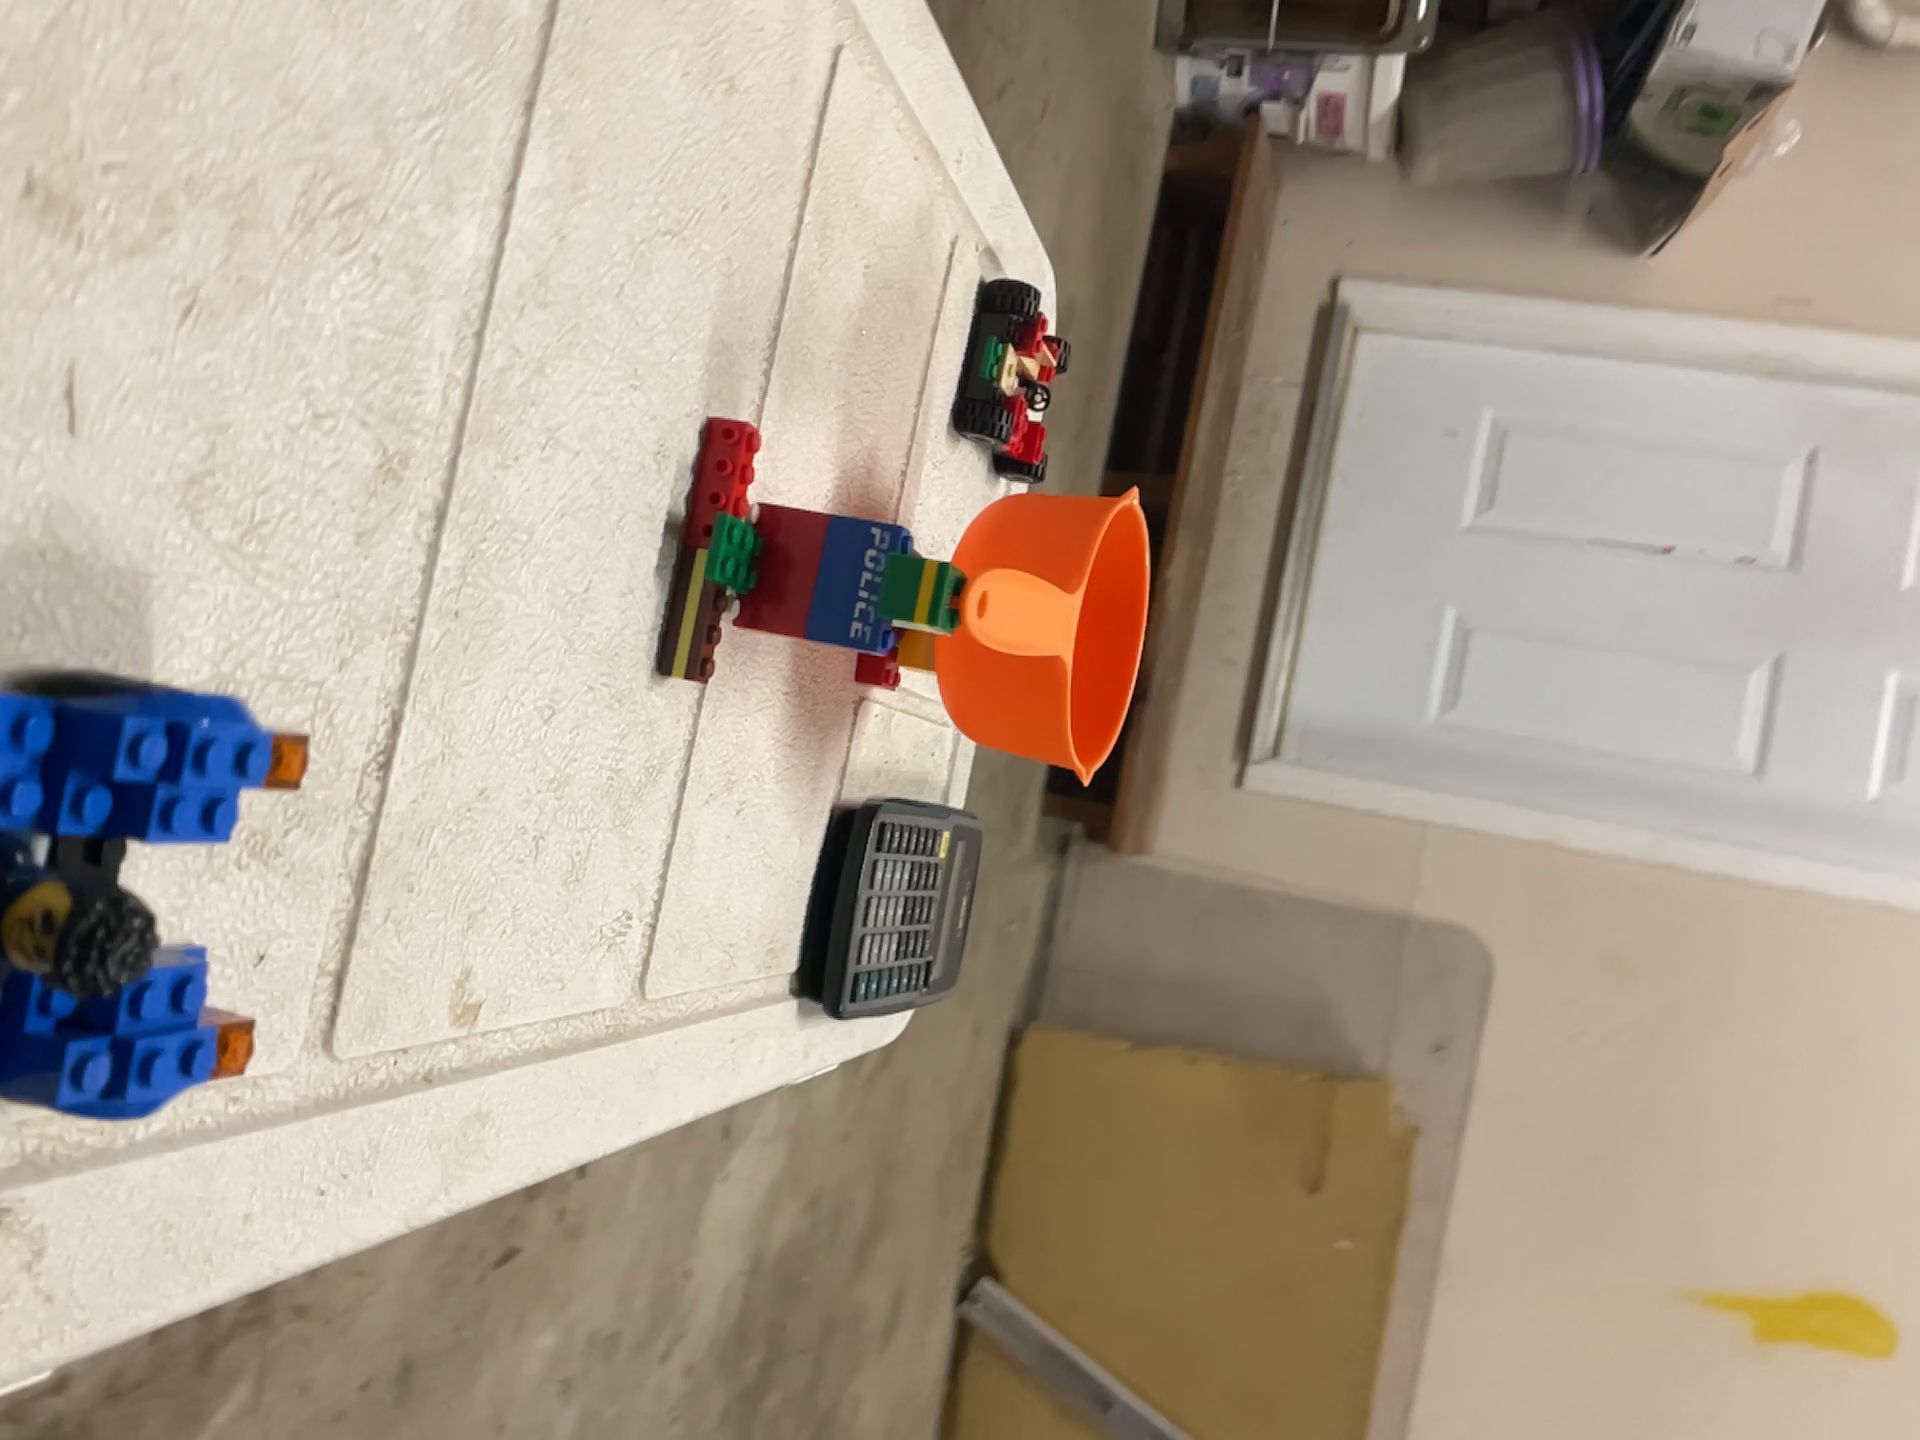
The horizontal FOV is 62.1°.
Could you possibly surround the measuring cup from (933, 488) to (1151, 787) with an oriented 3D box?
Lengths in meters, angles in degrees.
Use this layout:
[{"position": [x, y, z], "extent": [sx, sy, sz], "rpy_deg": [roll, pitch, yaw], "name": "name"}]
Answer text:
[{"position": [0.012, -0.031, 0.472], "extent": [0.173, 0.052, 0.095], "rpy_deg": [4, 96, -70], "name": "measuring cup"}]
